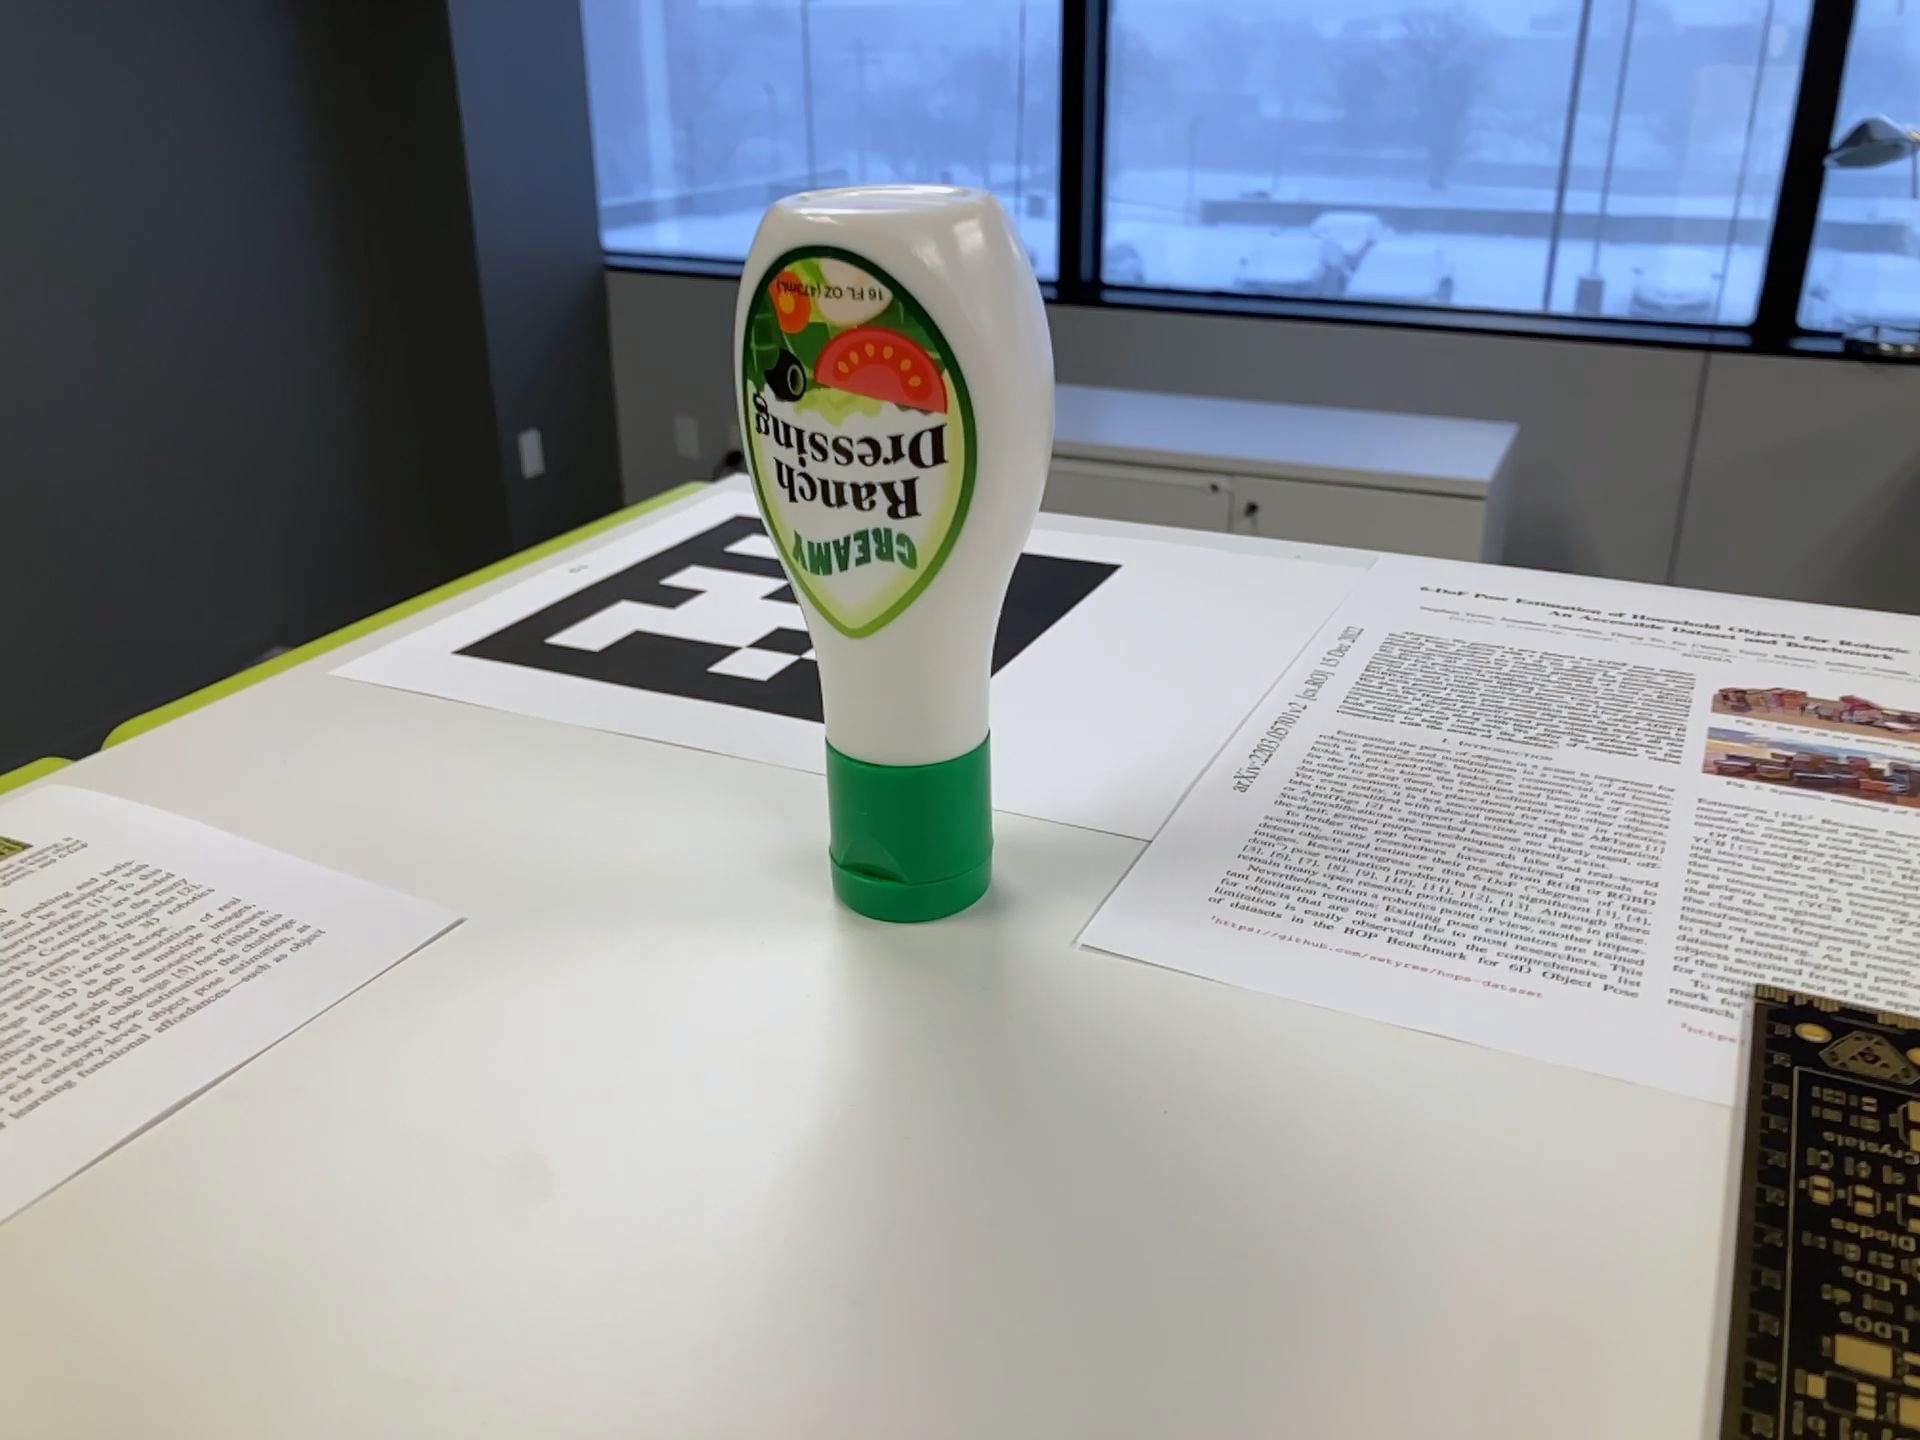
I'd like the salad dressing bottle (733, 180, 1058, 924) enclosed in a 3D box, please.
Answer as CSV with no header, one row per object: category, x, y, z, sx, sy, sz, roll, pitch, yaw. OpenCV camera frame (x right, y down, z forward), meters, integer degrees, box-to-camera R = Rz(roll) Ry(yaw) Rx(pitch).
salad dressing bottle,-0.012,-0.031,0.323,0.064,0.147,0.044,11,27,26
